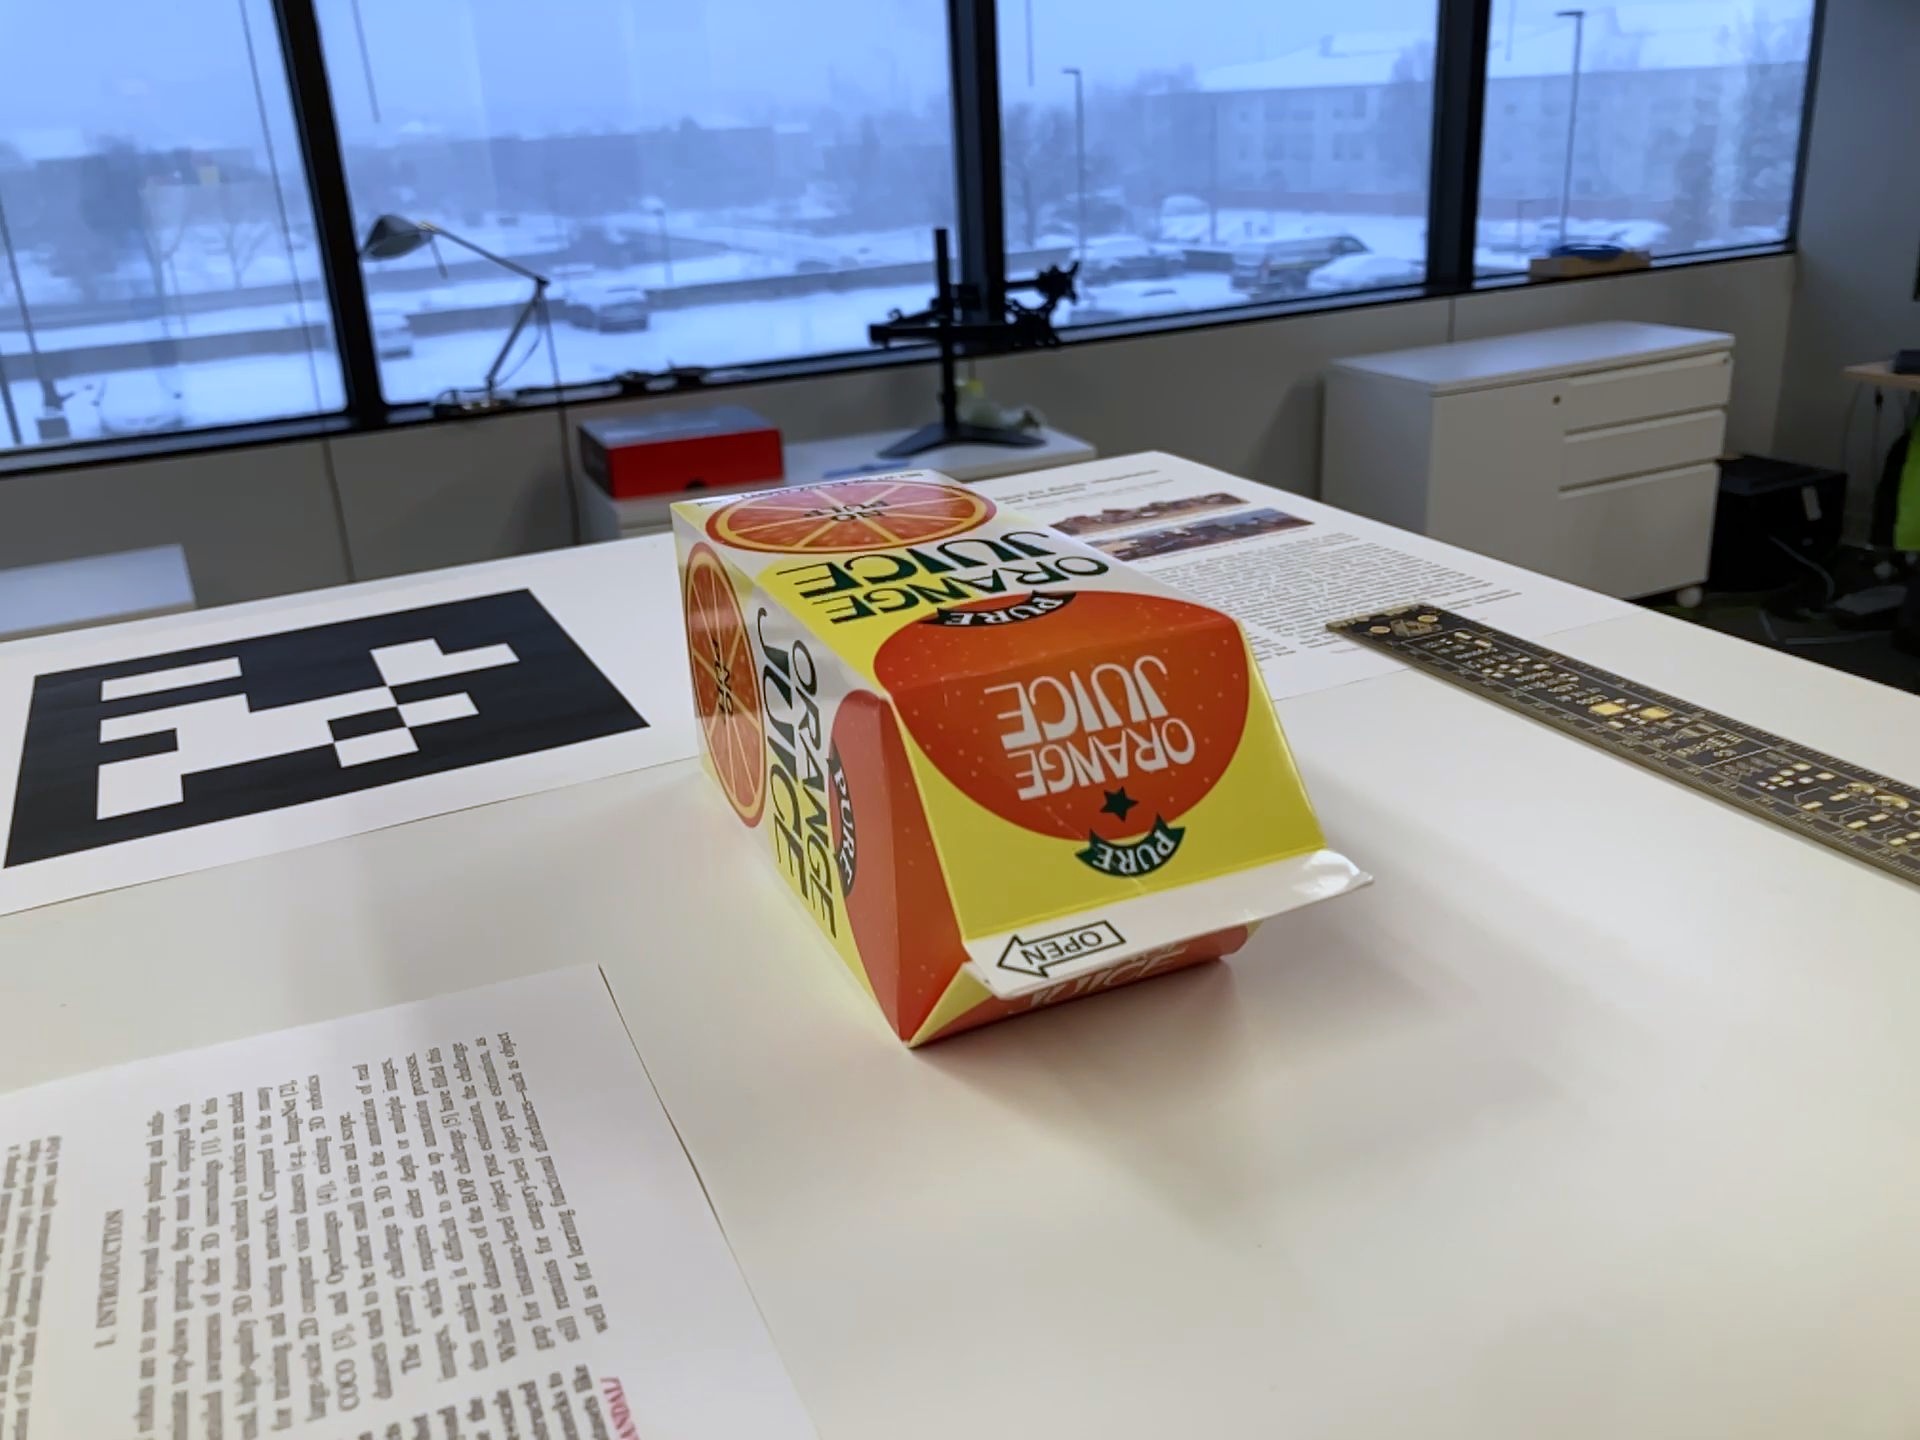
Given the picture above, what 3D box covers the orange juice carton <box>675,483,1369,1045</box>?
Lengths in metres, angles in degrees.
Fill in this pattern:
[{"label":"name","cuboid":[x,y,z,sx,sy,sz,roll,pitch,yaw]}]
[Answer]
[{"label":"orange juice carton","cuboid":[0.000,0.005,0.338,0.072,0.073,0.192,-11,22,-21]}]
